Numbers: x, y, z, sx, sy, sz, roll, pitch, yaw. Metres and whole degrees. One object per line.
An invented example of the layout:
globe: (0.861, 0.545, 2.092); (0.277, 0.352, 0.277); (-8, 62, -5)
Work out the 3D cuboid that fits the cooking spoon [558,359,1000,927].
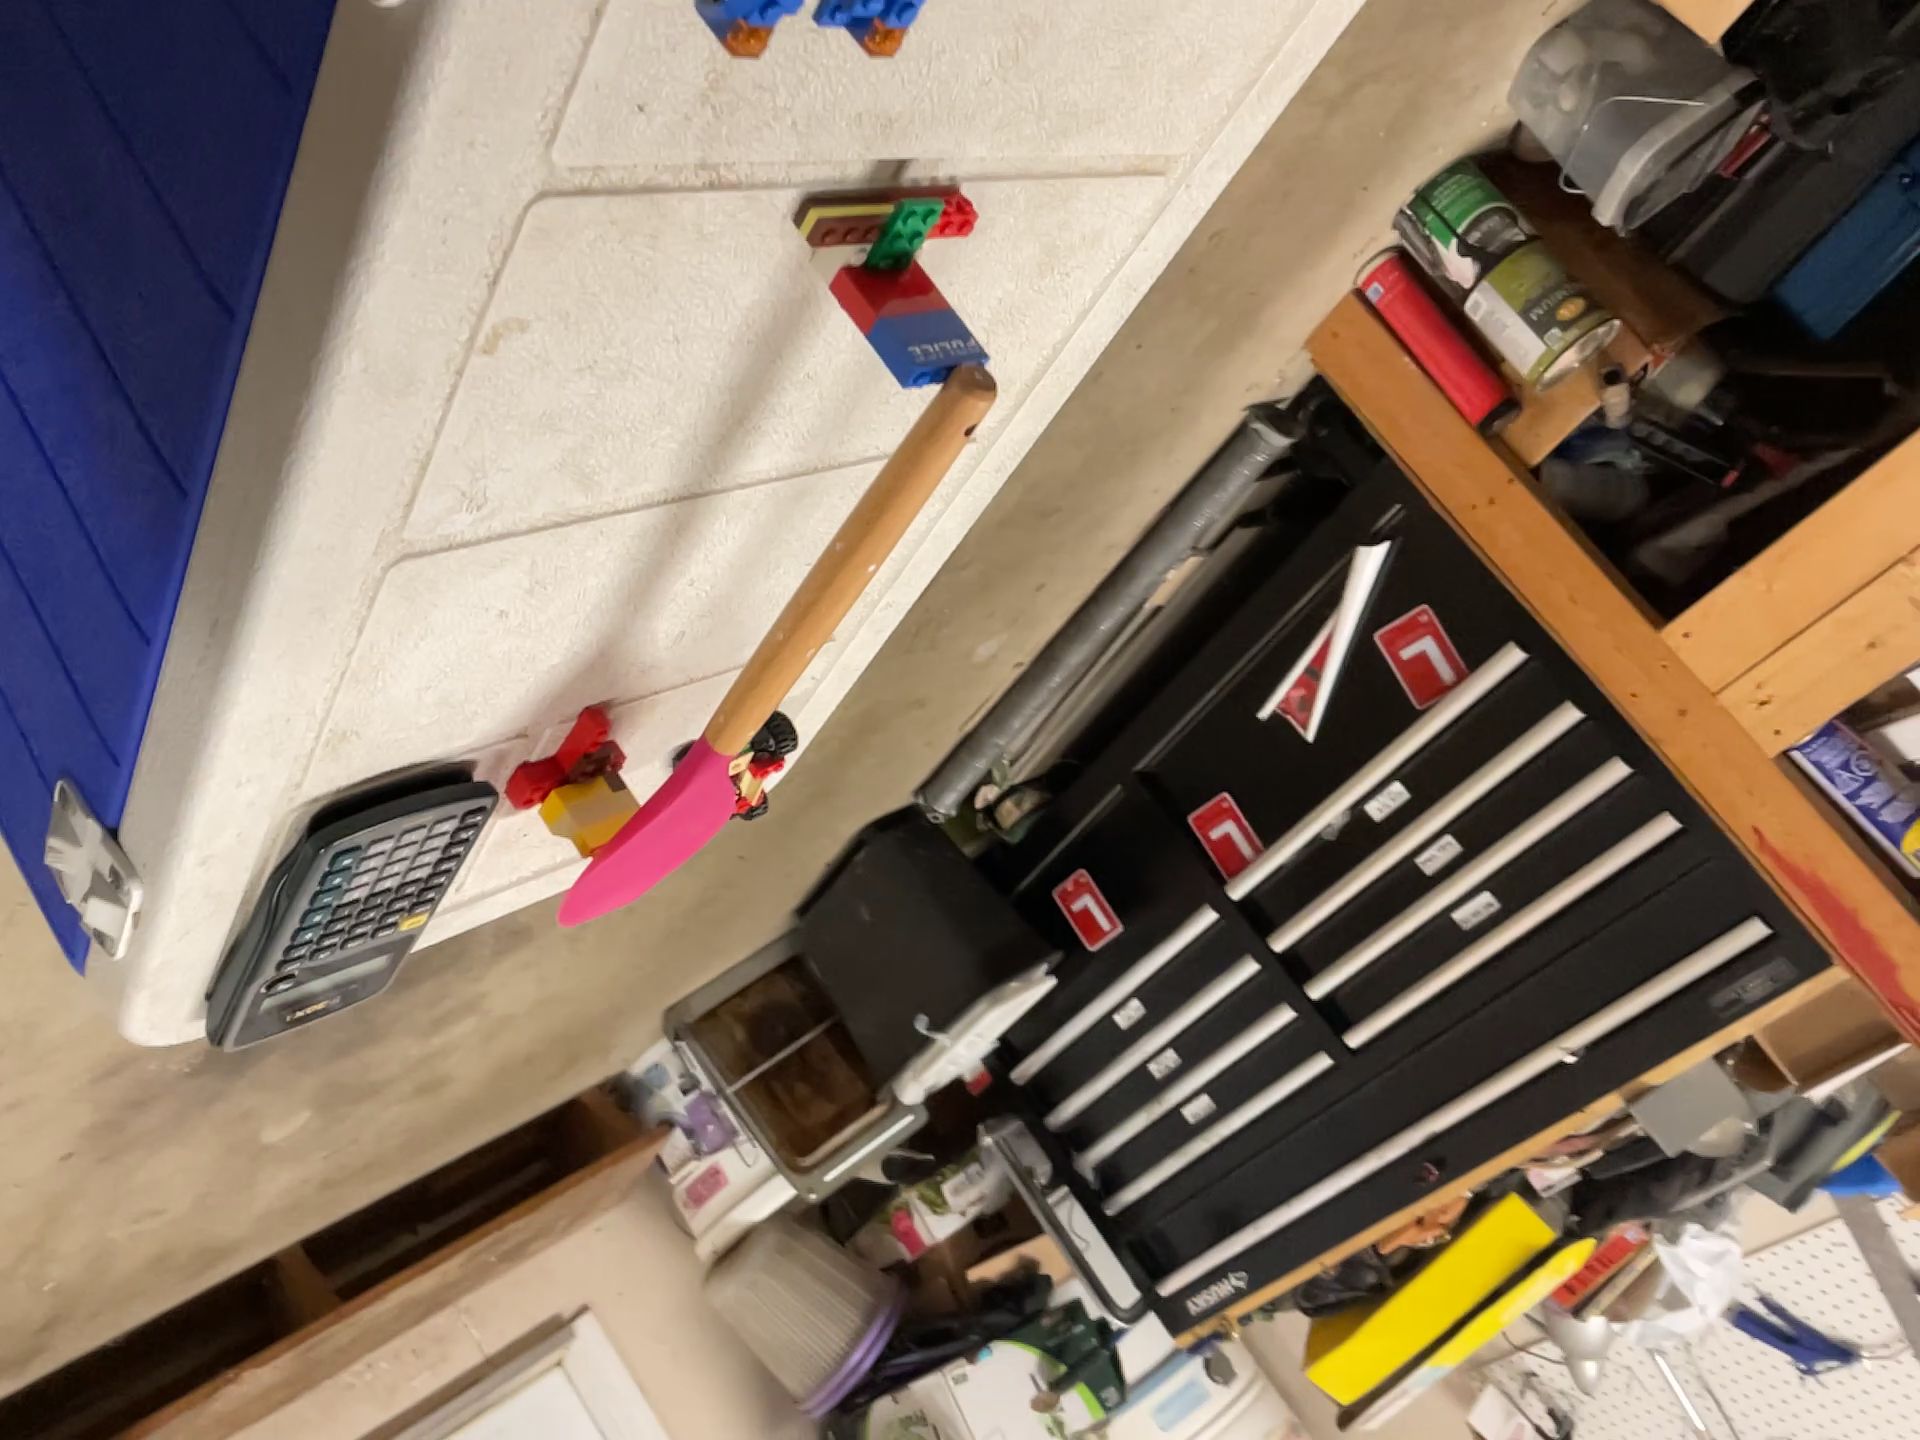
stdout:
cooking spoon: (-0.072, -0.009, 0.550); (0.069, 0.017, 0.318); (-22, 161, -44)
